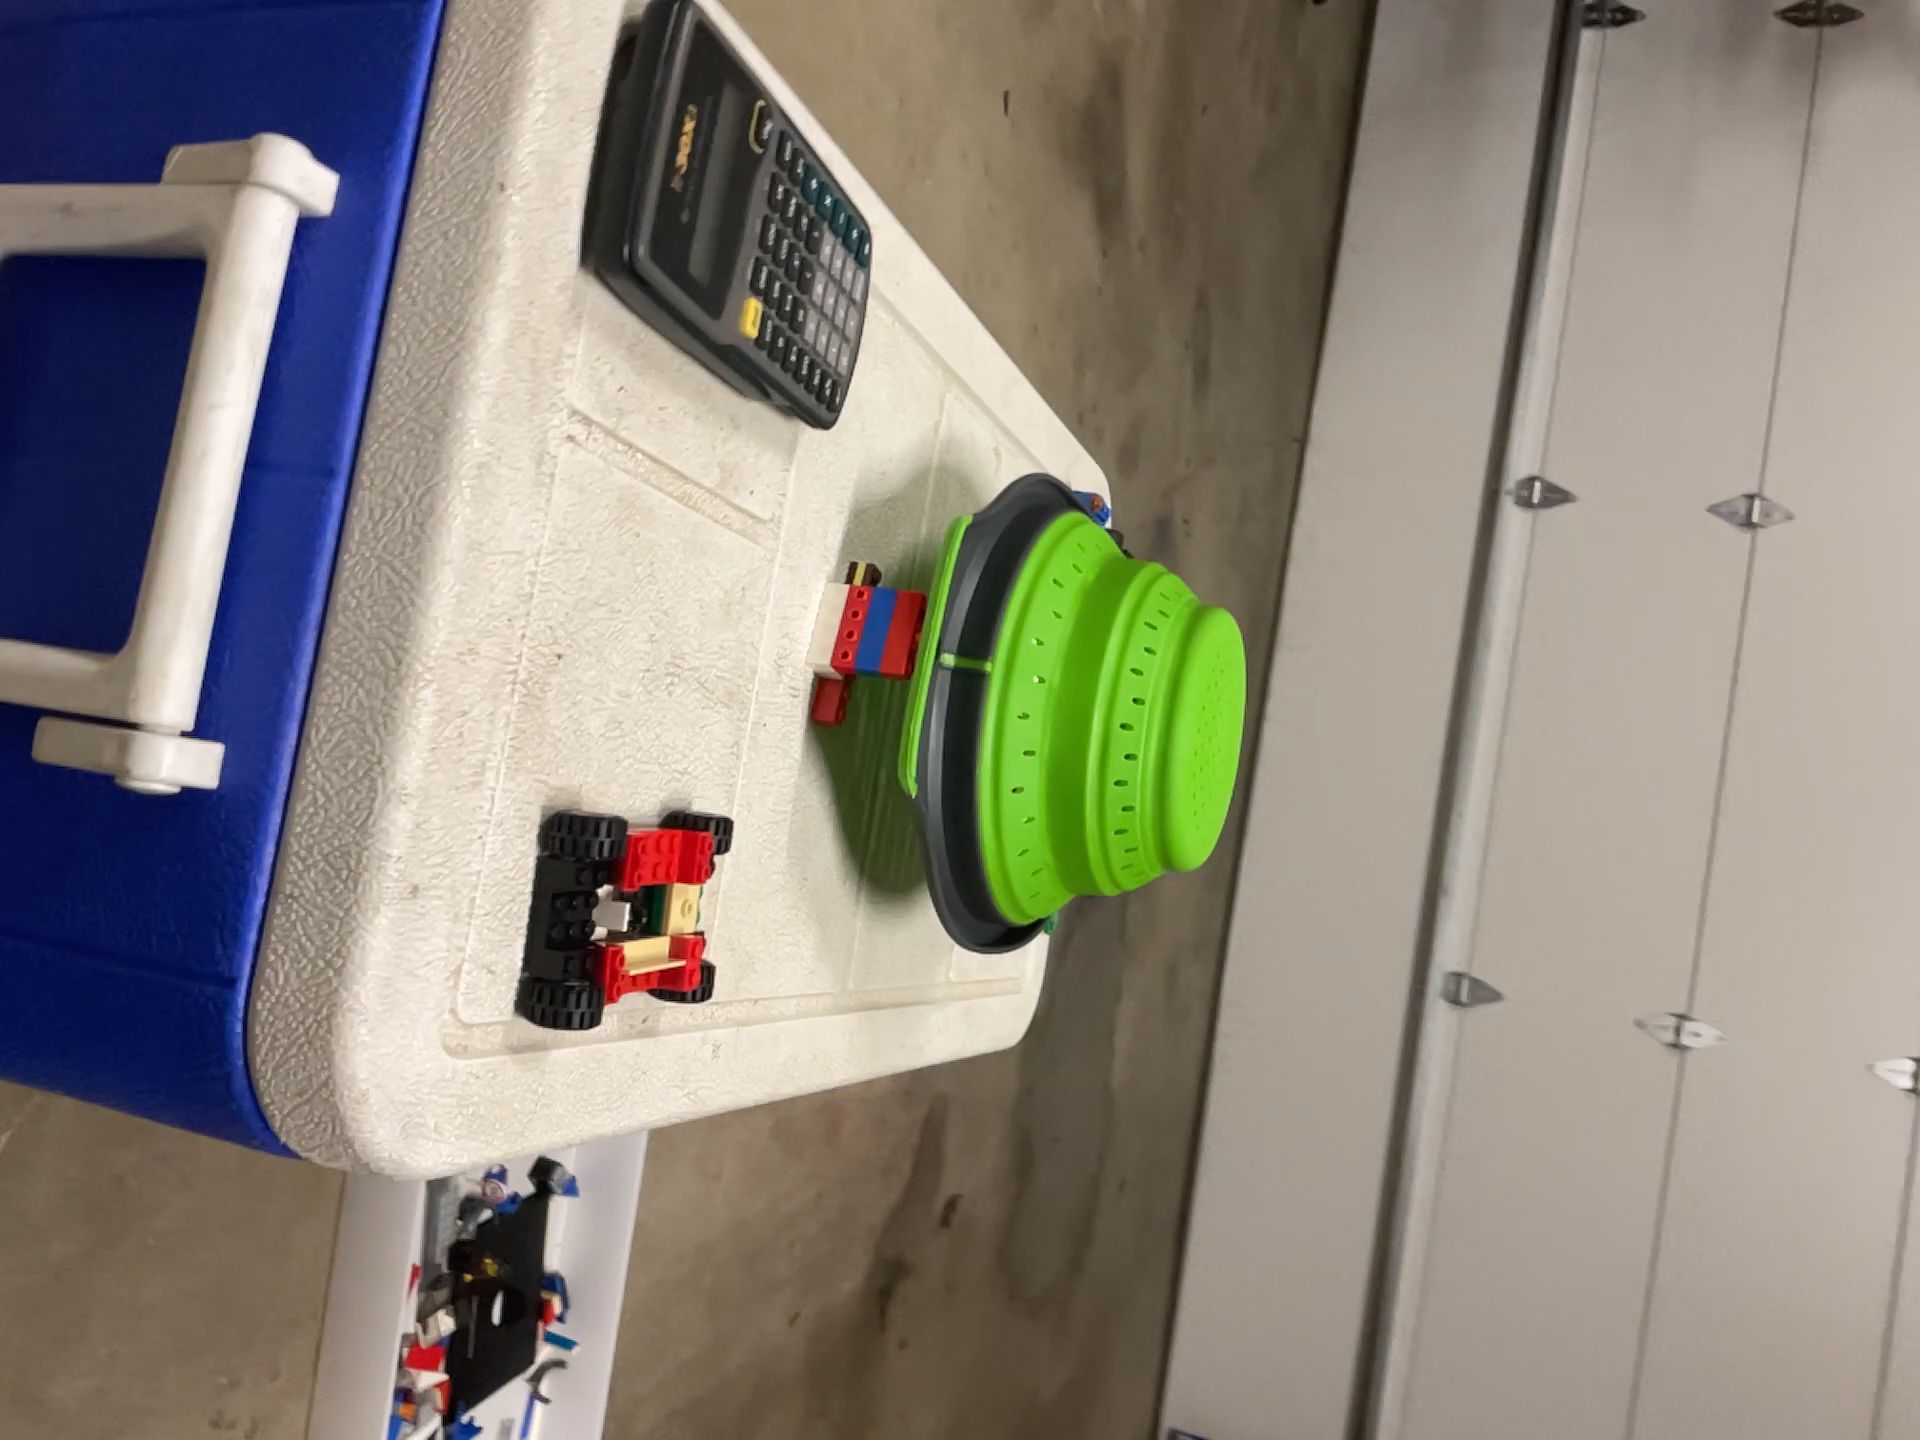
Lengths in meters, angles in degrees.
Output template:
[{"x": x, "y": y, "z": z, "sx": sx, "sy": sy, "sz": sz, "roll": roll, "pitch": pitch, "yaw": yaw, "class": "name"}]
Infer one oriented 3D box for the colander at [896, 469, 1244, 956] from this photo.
[{"x": 0.087, "y": 0.020, "z": 0.734, "sx": 0.396, "sy": 0.094, "sz": 0.205, "roll": 35, "pitch": 65, "yaw": -68, "class": "colander"}]
